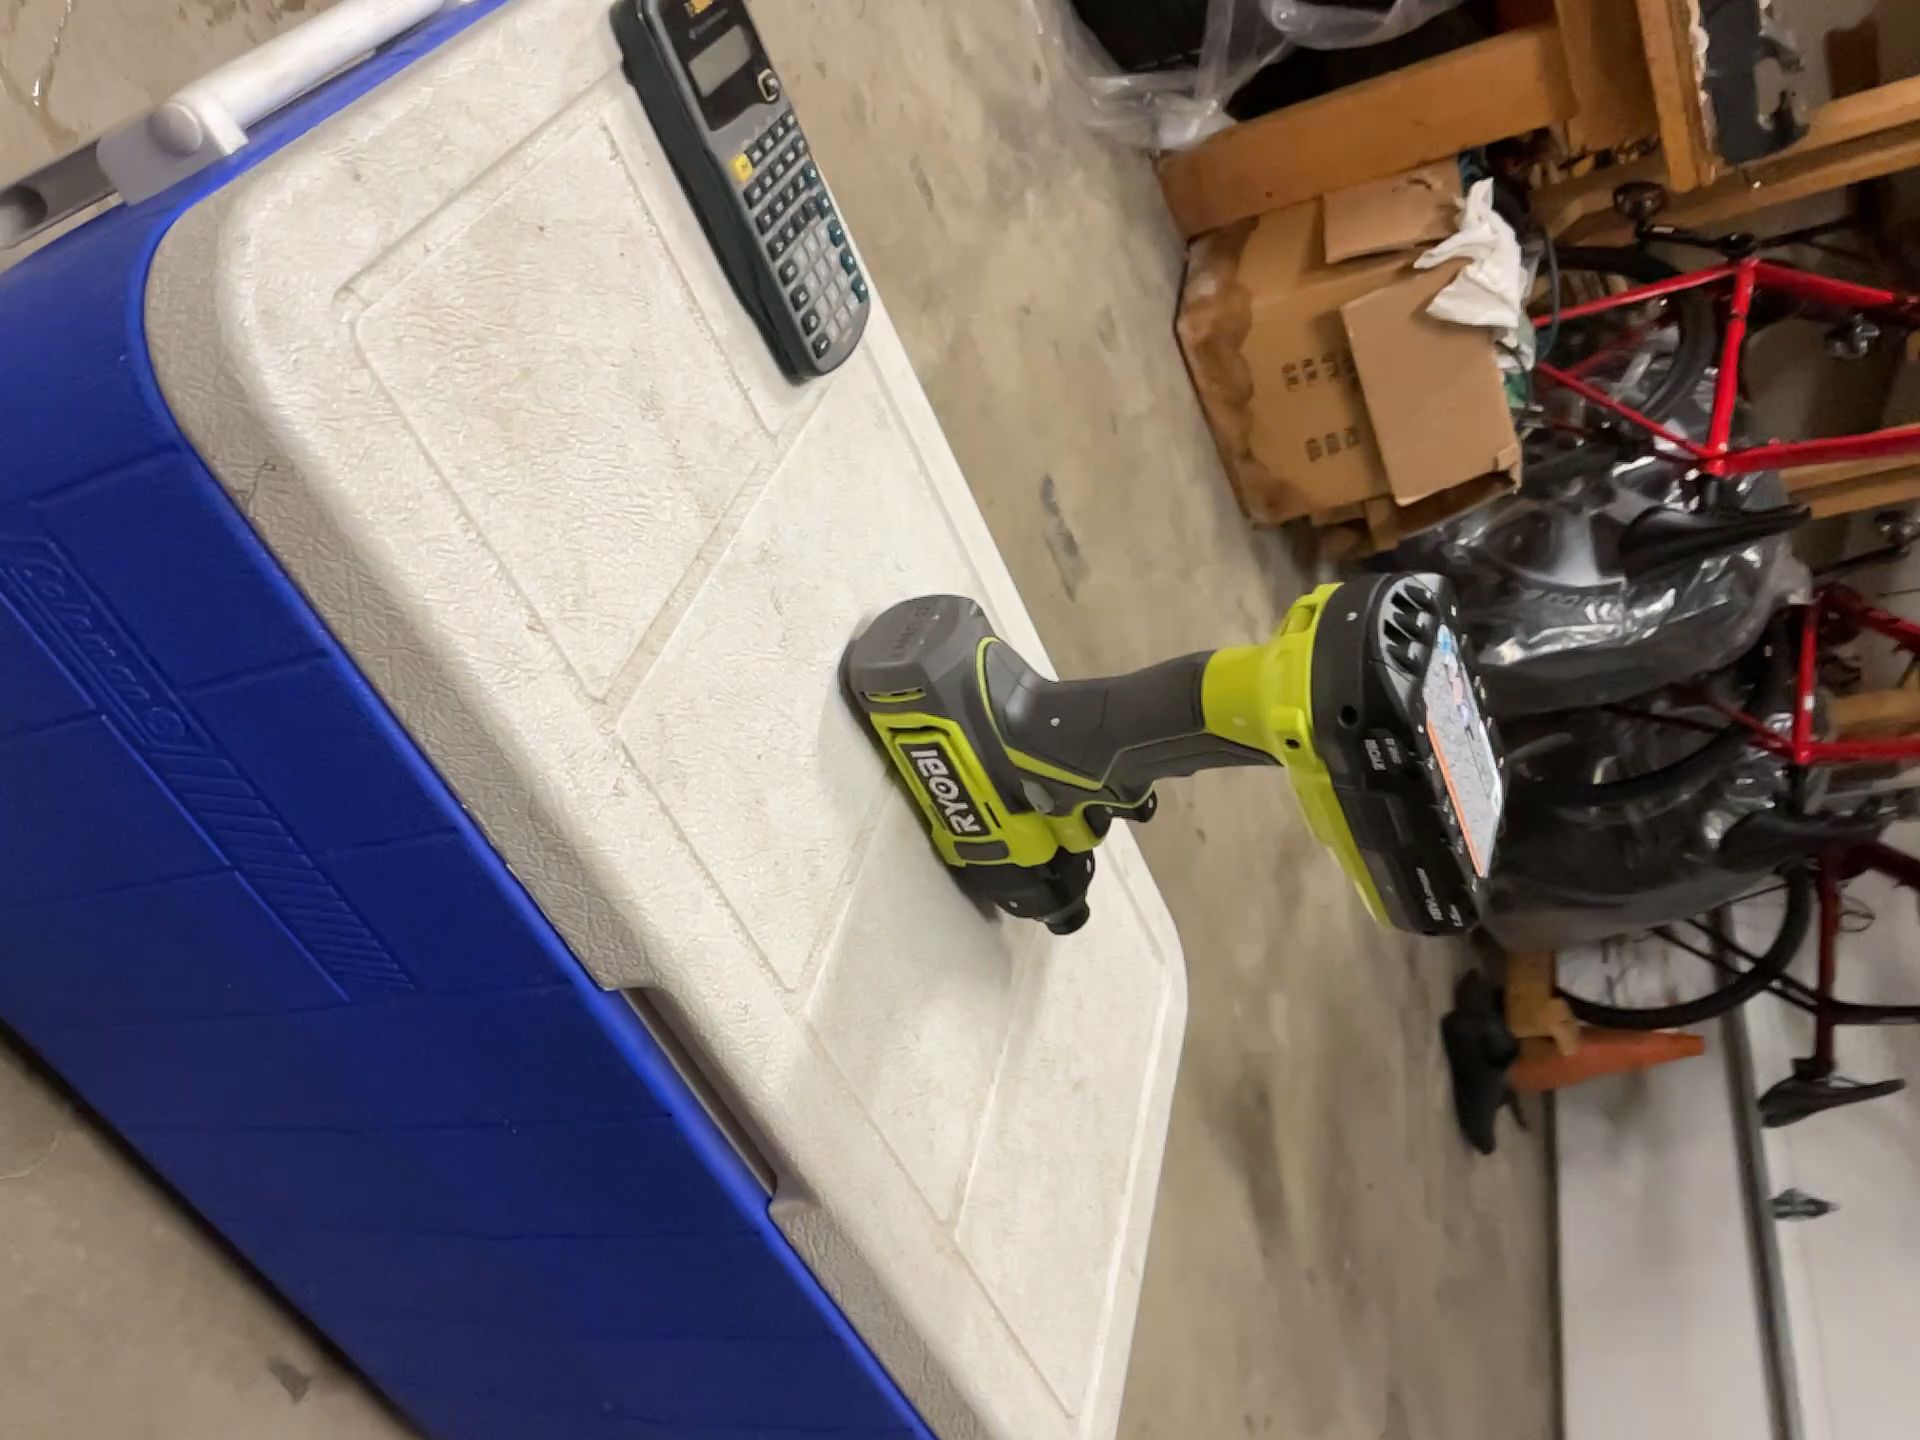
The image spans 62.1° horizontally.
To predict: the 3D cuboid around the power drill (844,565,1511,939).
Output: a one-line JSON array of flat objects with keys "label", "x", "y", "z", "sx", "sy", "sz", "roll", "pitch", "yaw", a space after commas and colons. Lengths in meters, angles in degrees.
[{"label": "power drill", "x": 0.084, "y": 0.022, "z": 0.611, "sx": 0.171, "sy": 0.223, "sz": 0.080, "roll": 61, "pitch": 41, "yaw": -33}]
